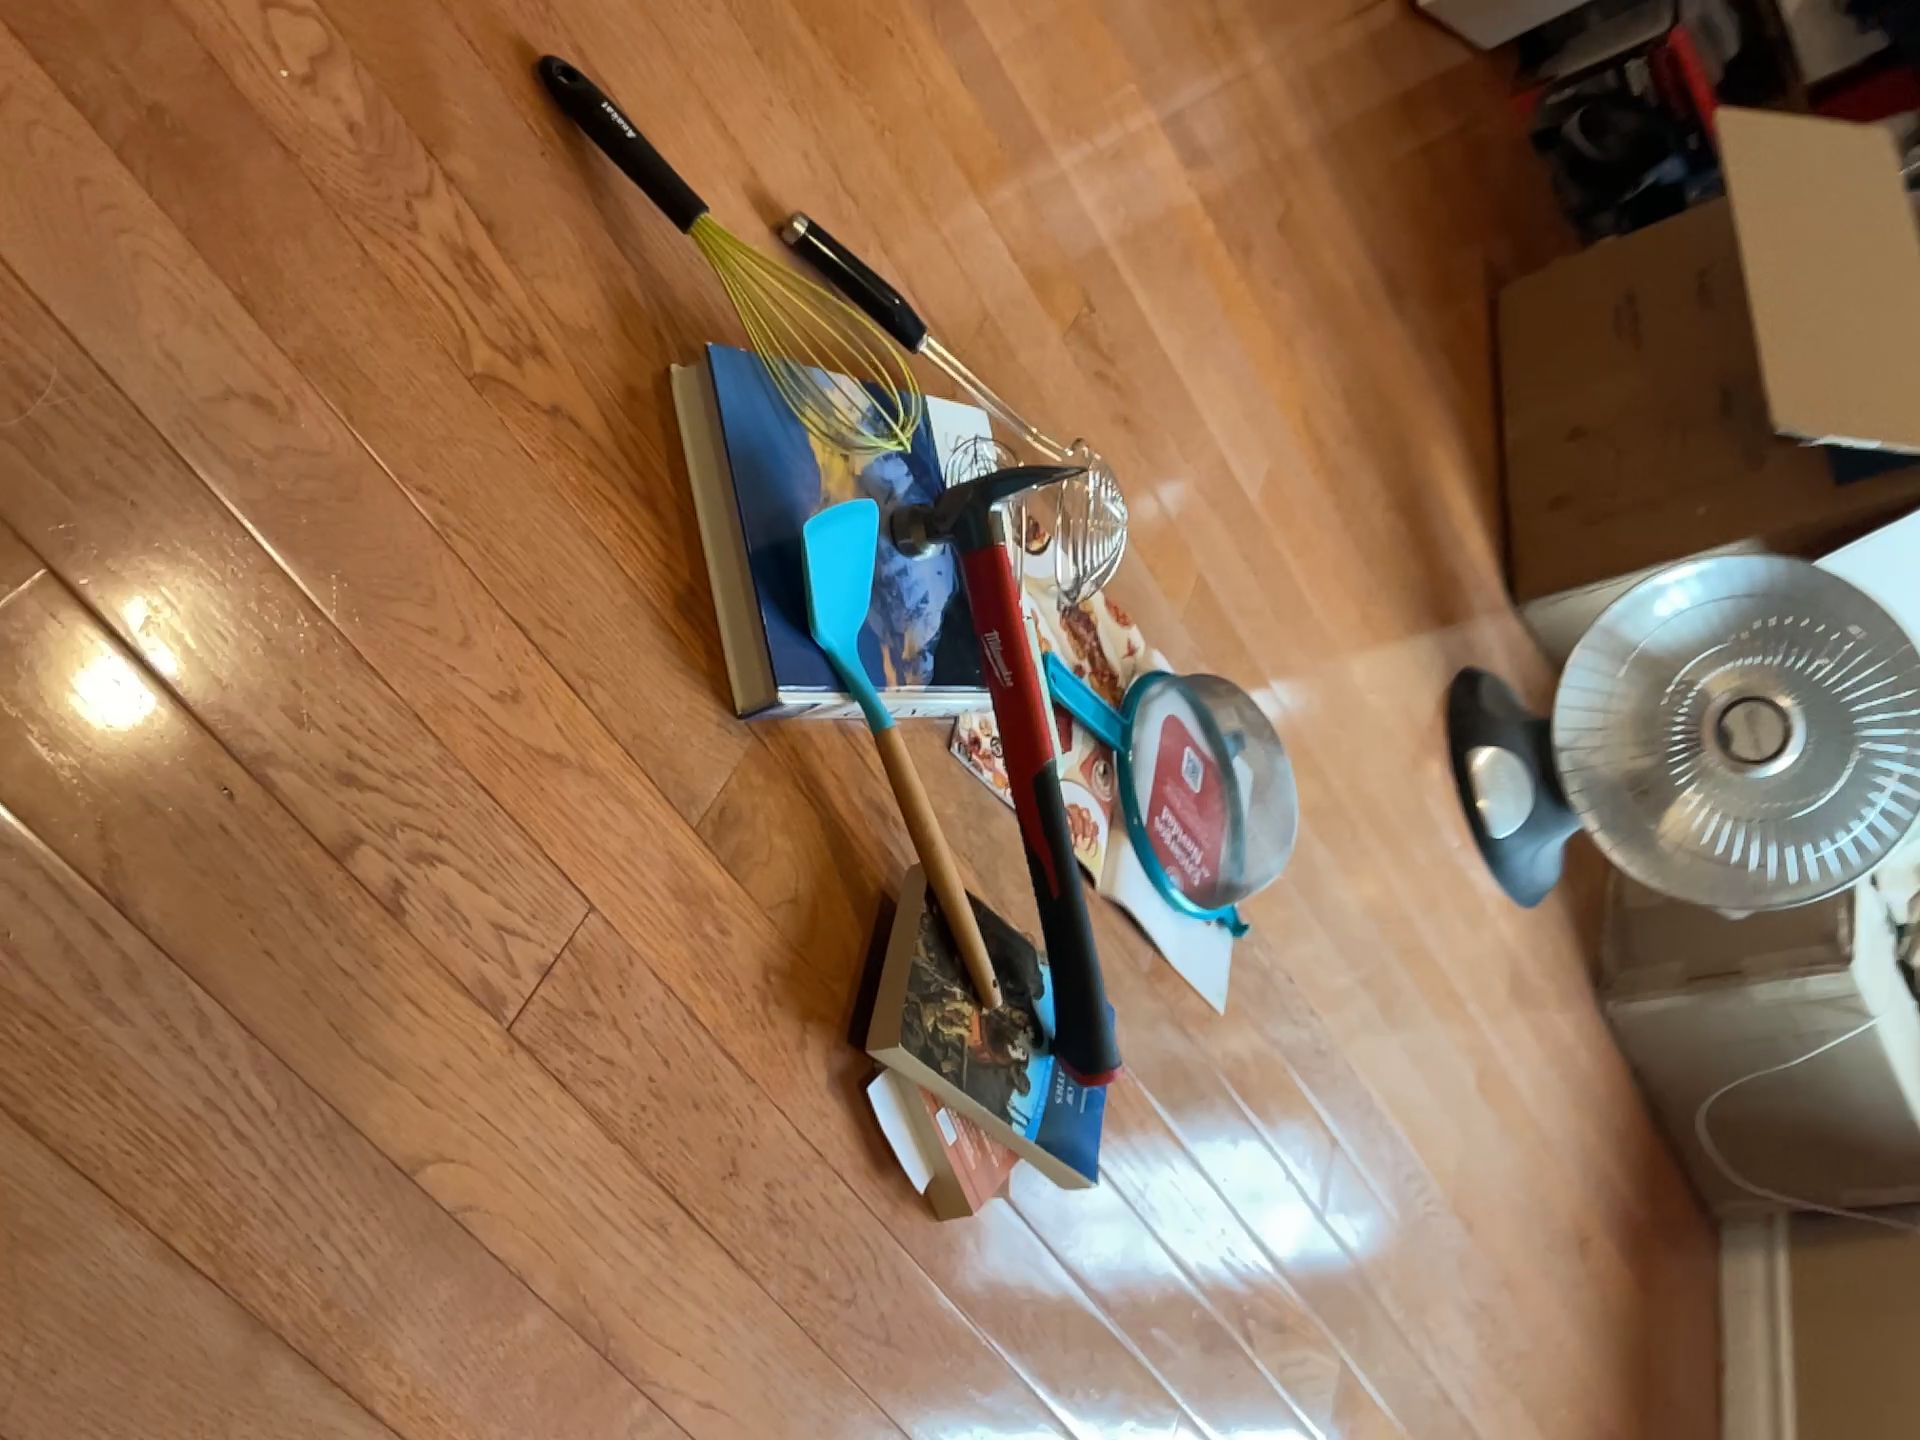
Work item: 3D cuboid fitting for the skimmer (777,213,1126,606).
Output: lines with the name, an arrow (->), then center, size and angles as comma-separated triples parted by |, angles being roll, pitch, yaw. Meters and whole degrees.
skimmer -> -0.005, -0.223, 1.166 | 0.363, 0.090, 0.128 | 37, 50, -25

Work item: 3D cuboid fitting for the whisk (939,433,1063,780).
whisk -> 0.034, -0.074, 1.082 | 0.059, 0.057, 0.246 | -30, 108, -86

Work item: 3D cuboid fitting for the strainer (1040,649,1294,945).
strainer -> 0.179, 0.027, 1.235 | 0.340, 0.095, 0.211 | 41, 46, -46

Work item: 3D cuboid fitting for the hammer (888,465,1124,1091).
hammer -> 0.057, 0.036, 0.992 | 0.038, 0.143, 0.386 | -11, 87, -52

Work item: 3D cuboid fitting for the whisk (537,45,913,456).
whisk -> -0.139, -0.277, 0.951 | 0.311, 0.067, 0.080 | 47, 56, -10

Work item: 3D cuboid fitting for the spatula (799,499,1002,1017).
spatula -> -0.029, 0.029, 0.946 | 0.082, 0.044, 0.317 | -29, 100, -56
